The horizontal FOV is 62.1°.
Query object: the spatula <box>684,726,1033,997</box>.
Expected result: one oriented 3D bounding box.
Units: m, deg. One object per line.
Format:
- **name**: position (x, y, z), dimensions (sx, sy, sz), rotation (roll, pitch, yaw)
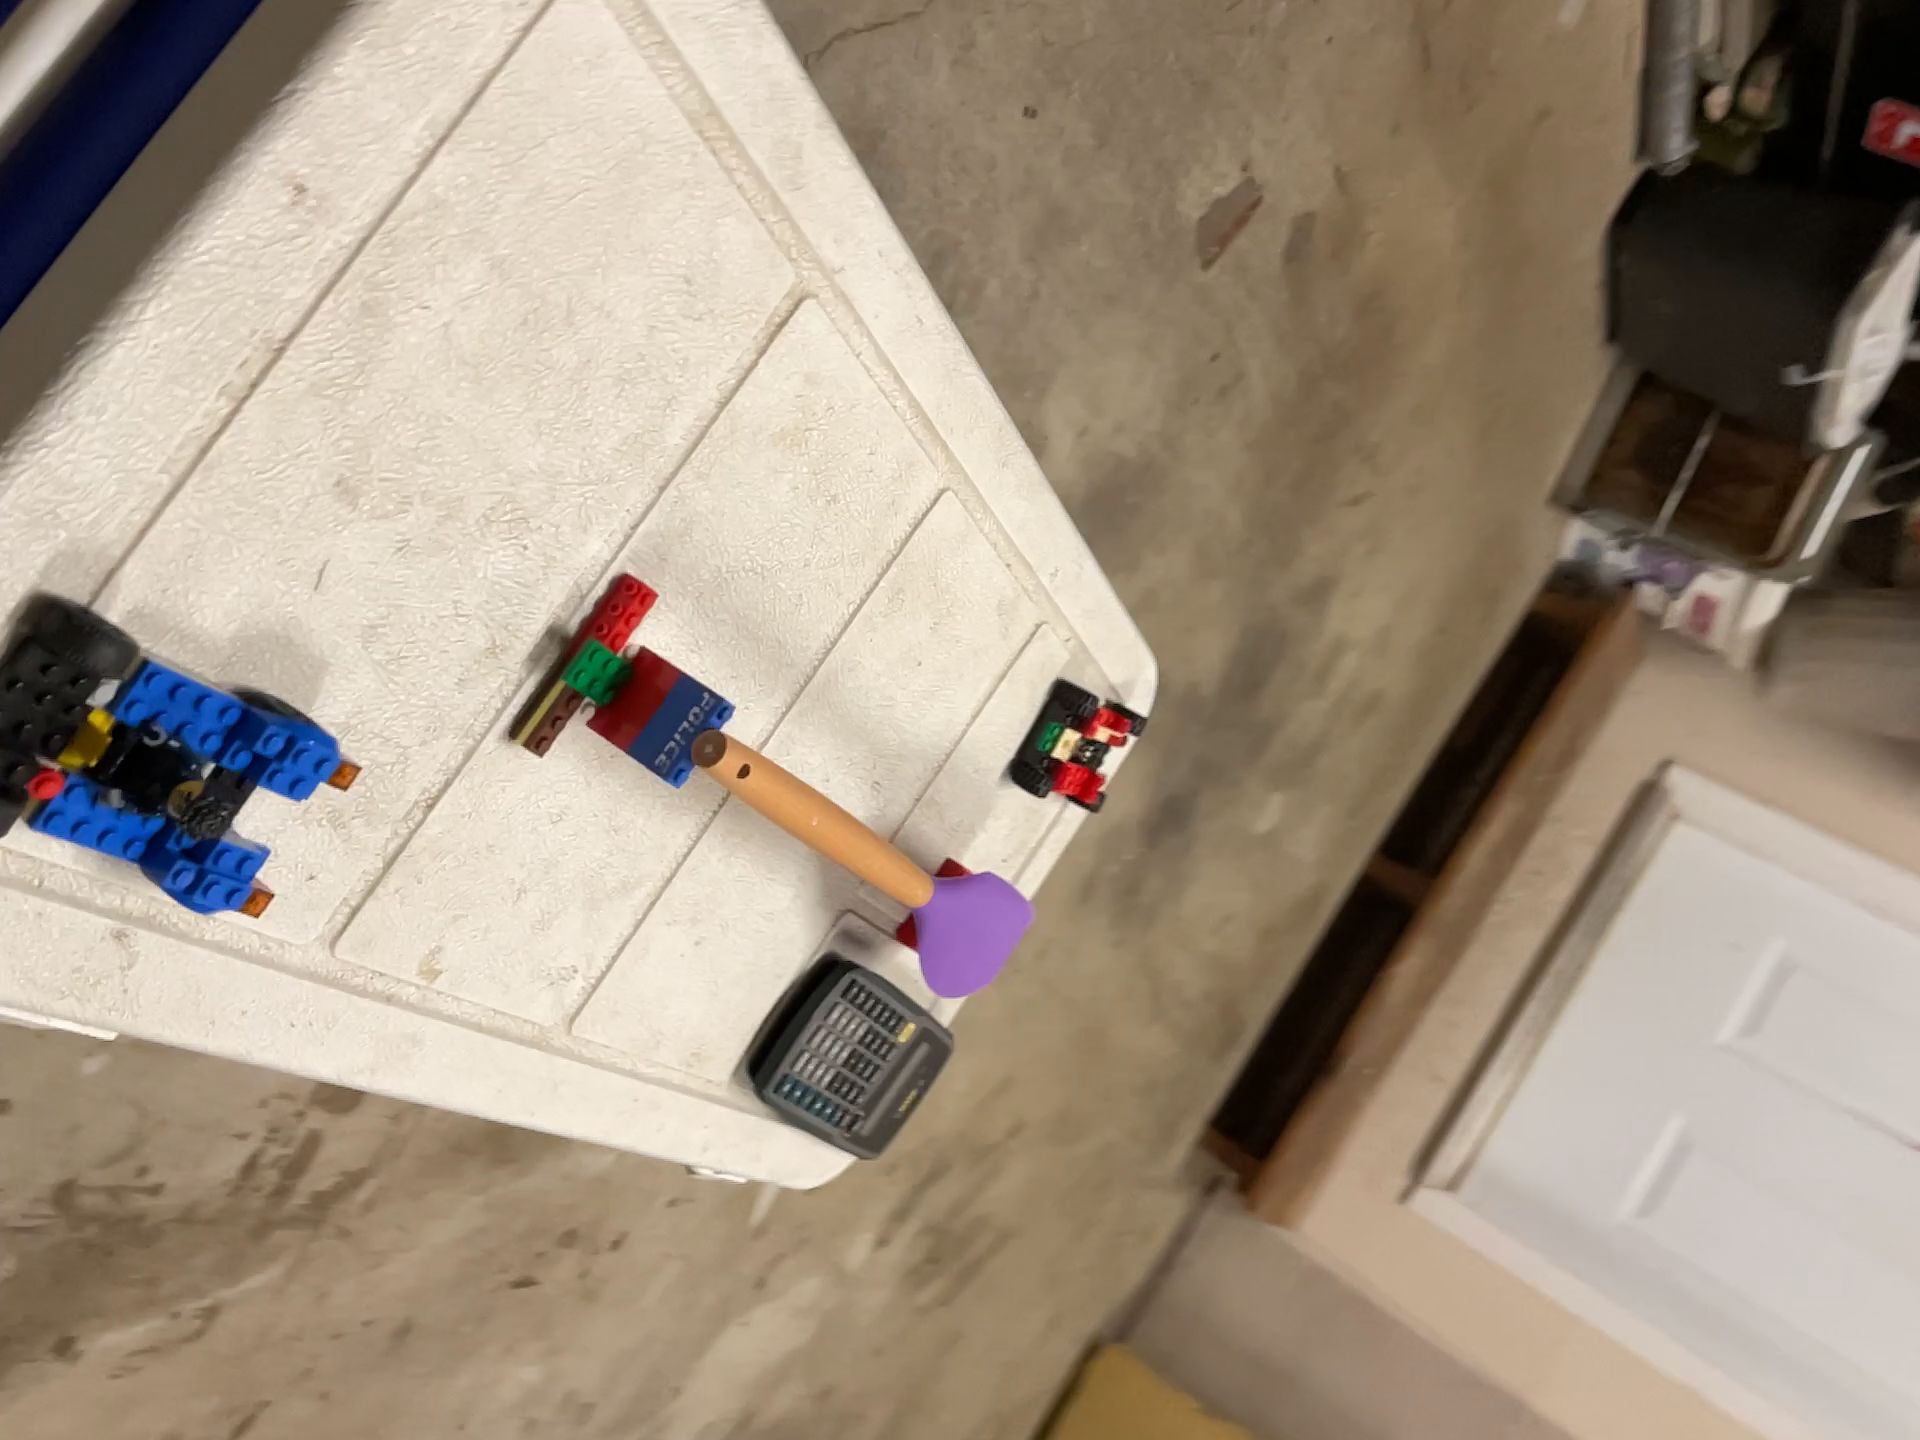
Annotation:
- **spatula**: position (-0.029, 0.062, 0.626), dimensions (0.060, 0.018, 0.315), rotation (-57, 153, -7)
